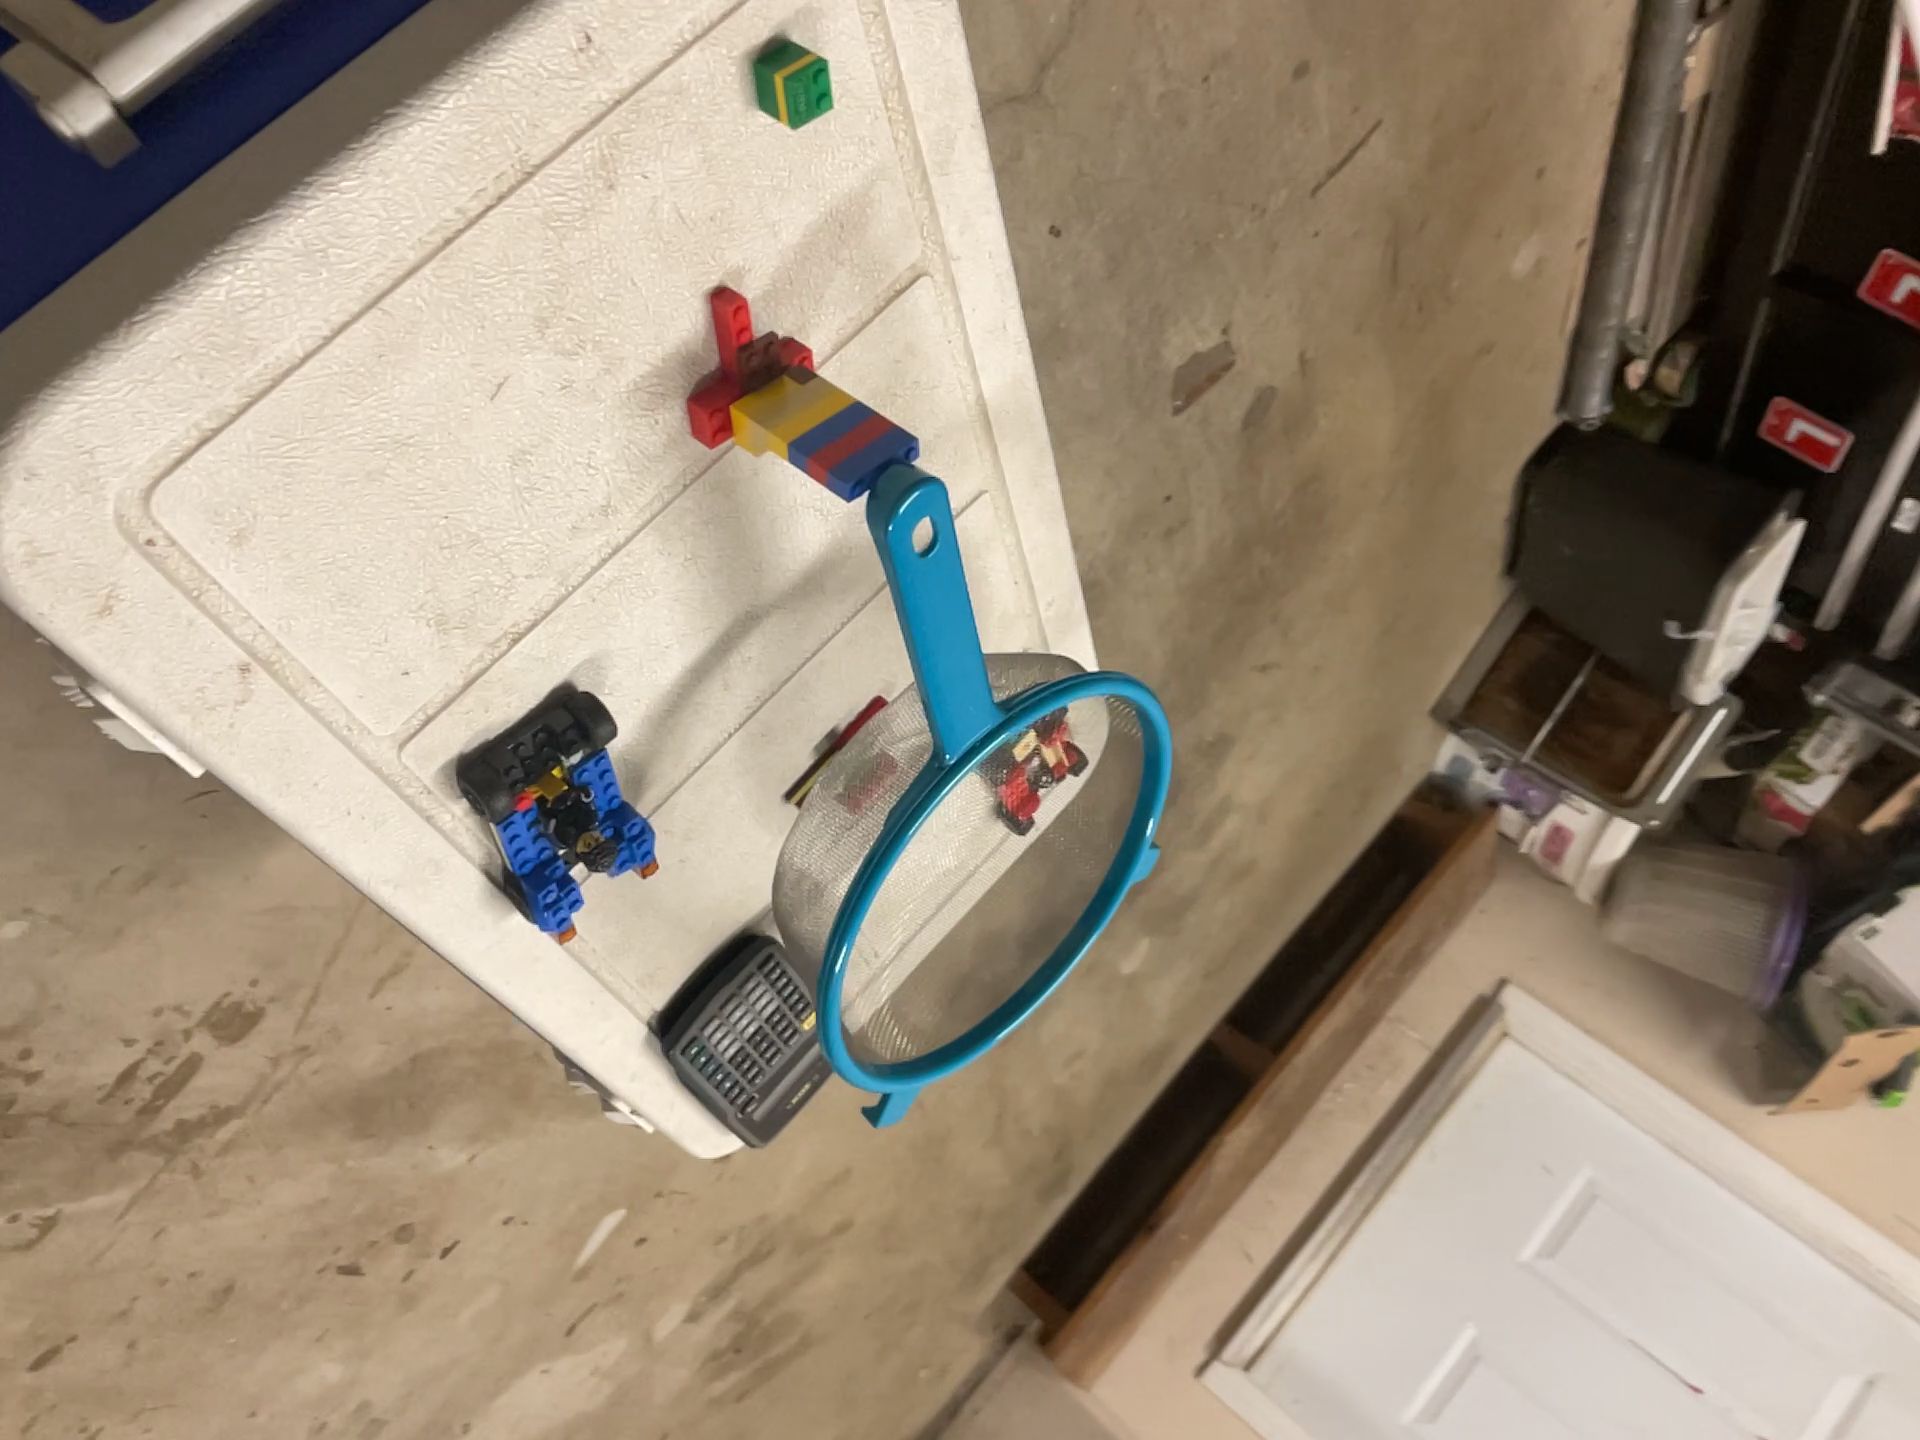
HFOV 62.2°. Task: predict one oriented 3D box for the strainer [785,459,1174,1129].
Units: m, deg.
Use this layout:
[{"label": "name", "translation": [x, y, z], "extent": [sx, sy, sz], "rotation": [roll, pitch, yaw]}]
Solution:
[{"label": "strainer", "translation": [-0.018, 0.012, 0.654], "extent": [0.211, 0.095, 0.339], "rotation": [-41, 145, -21]}]
